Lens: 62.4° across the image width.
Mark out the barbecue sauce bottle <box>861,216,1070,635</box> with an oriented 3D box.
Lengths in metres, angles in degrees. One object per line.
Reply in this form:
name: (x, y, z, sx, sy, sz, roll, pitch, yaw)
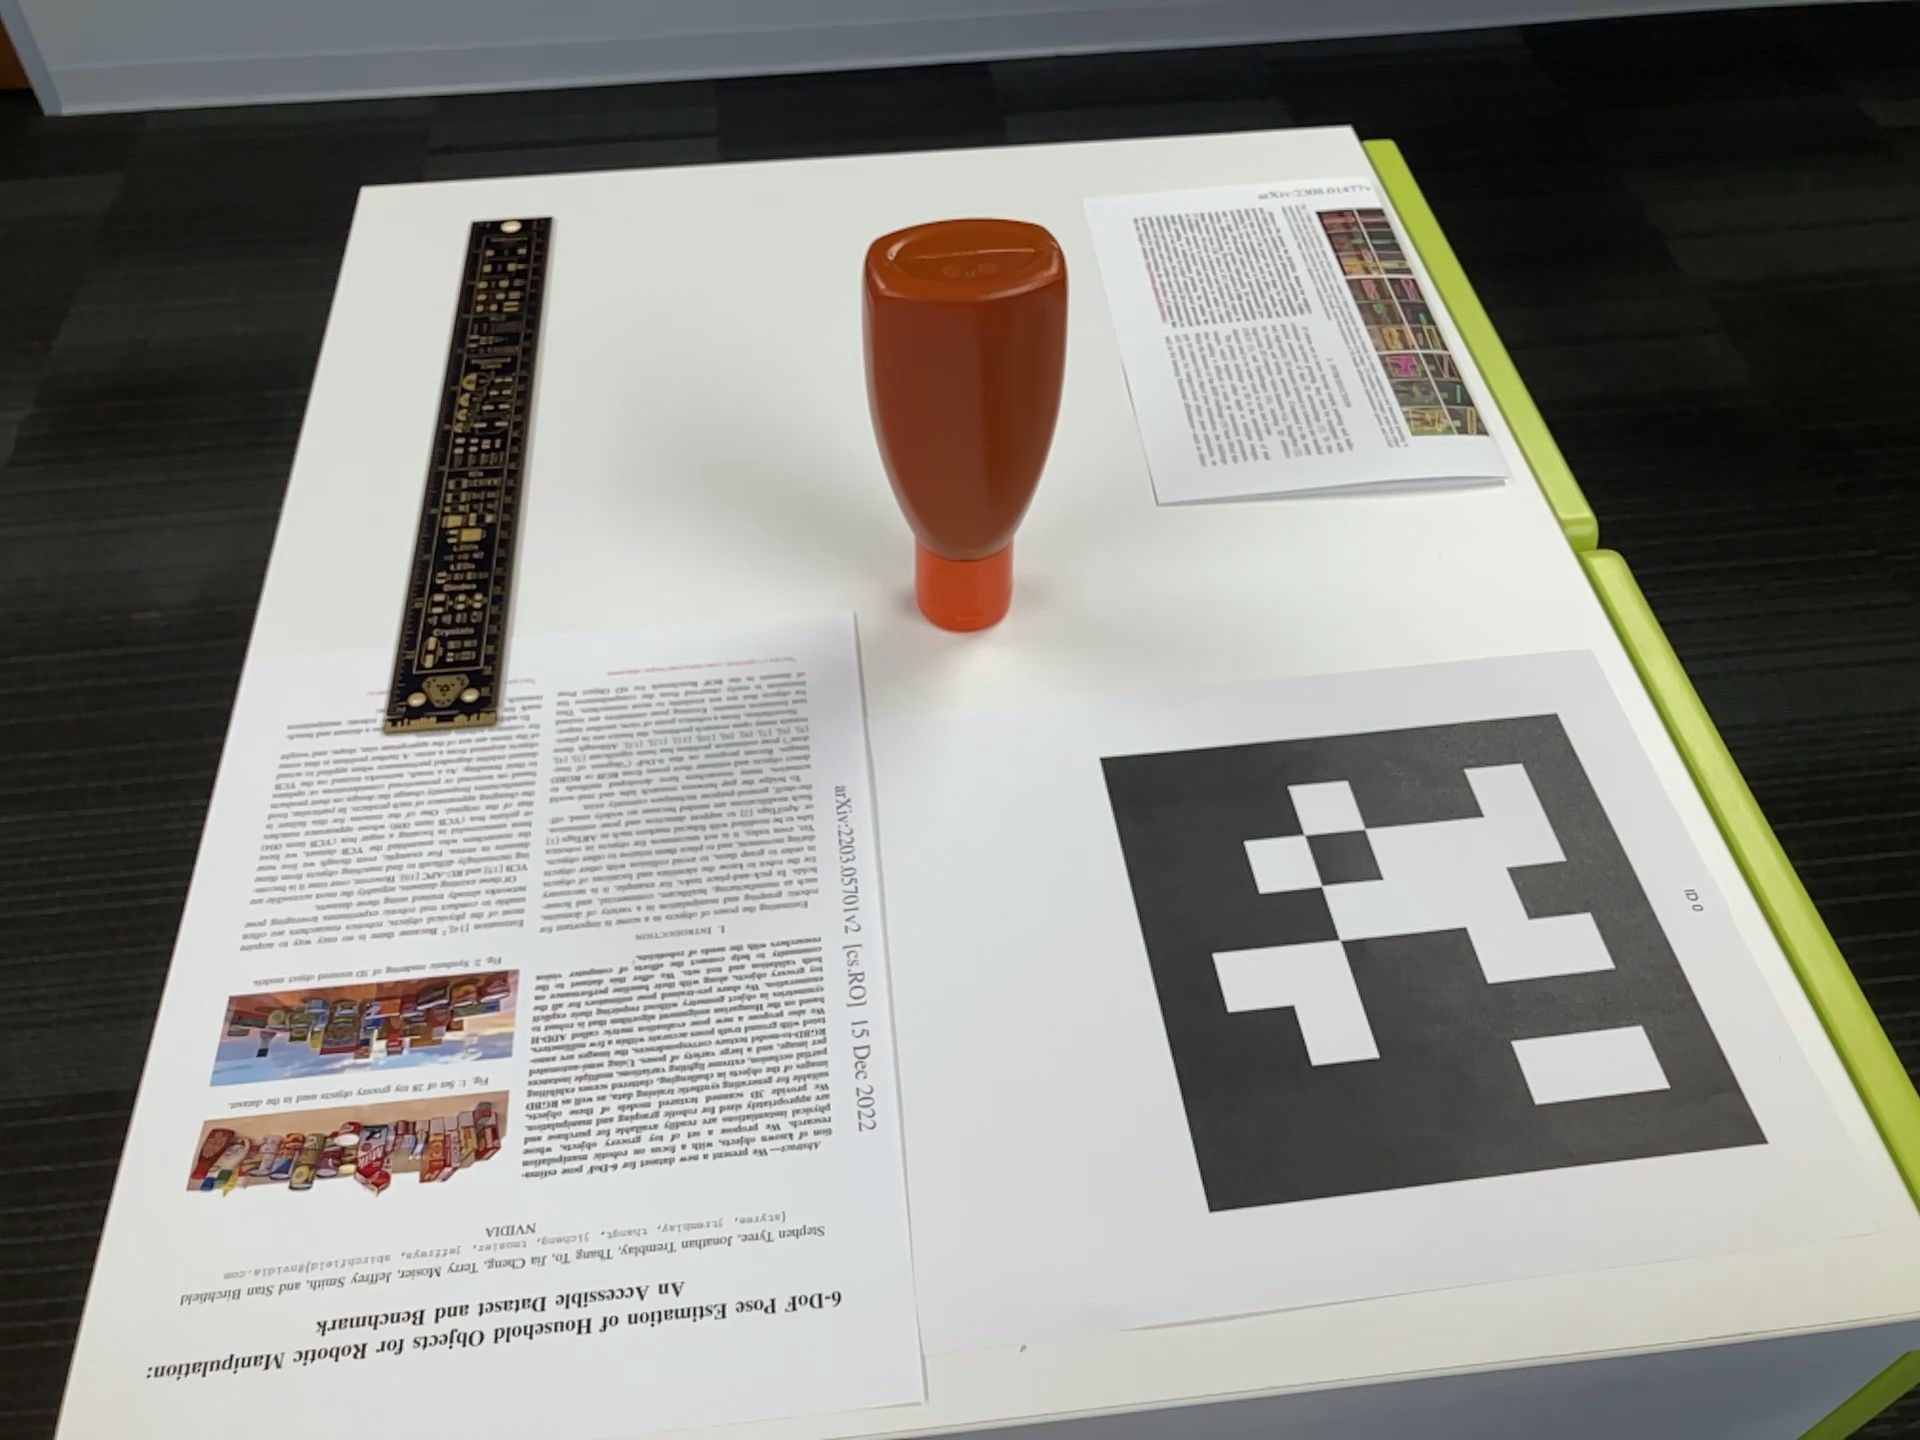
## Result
barbecue sauce bottle: (0.002, -0.092, 0.531, 0.065, 0.148, 0.043, -6, 49, -6)
